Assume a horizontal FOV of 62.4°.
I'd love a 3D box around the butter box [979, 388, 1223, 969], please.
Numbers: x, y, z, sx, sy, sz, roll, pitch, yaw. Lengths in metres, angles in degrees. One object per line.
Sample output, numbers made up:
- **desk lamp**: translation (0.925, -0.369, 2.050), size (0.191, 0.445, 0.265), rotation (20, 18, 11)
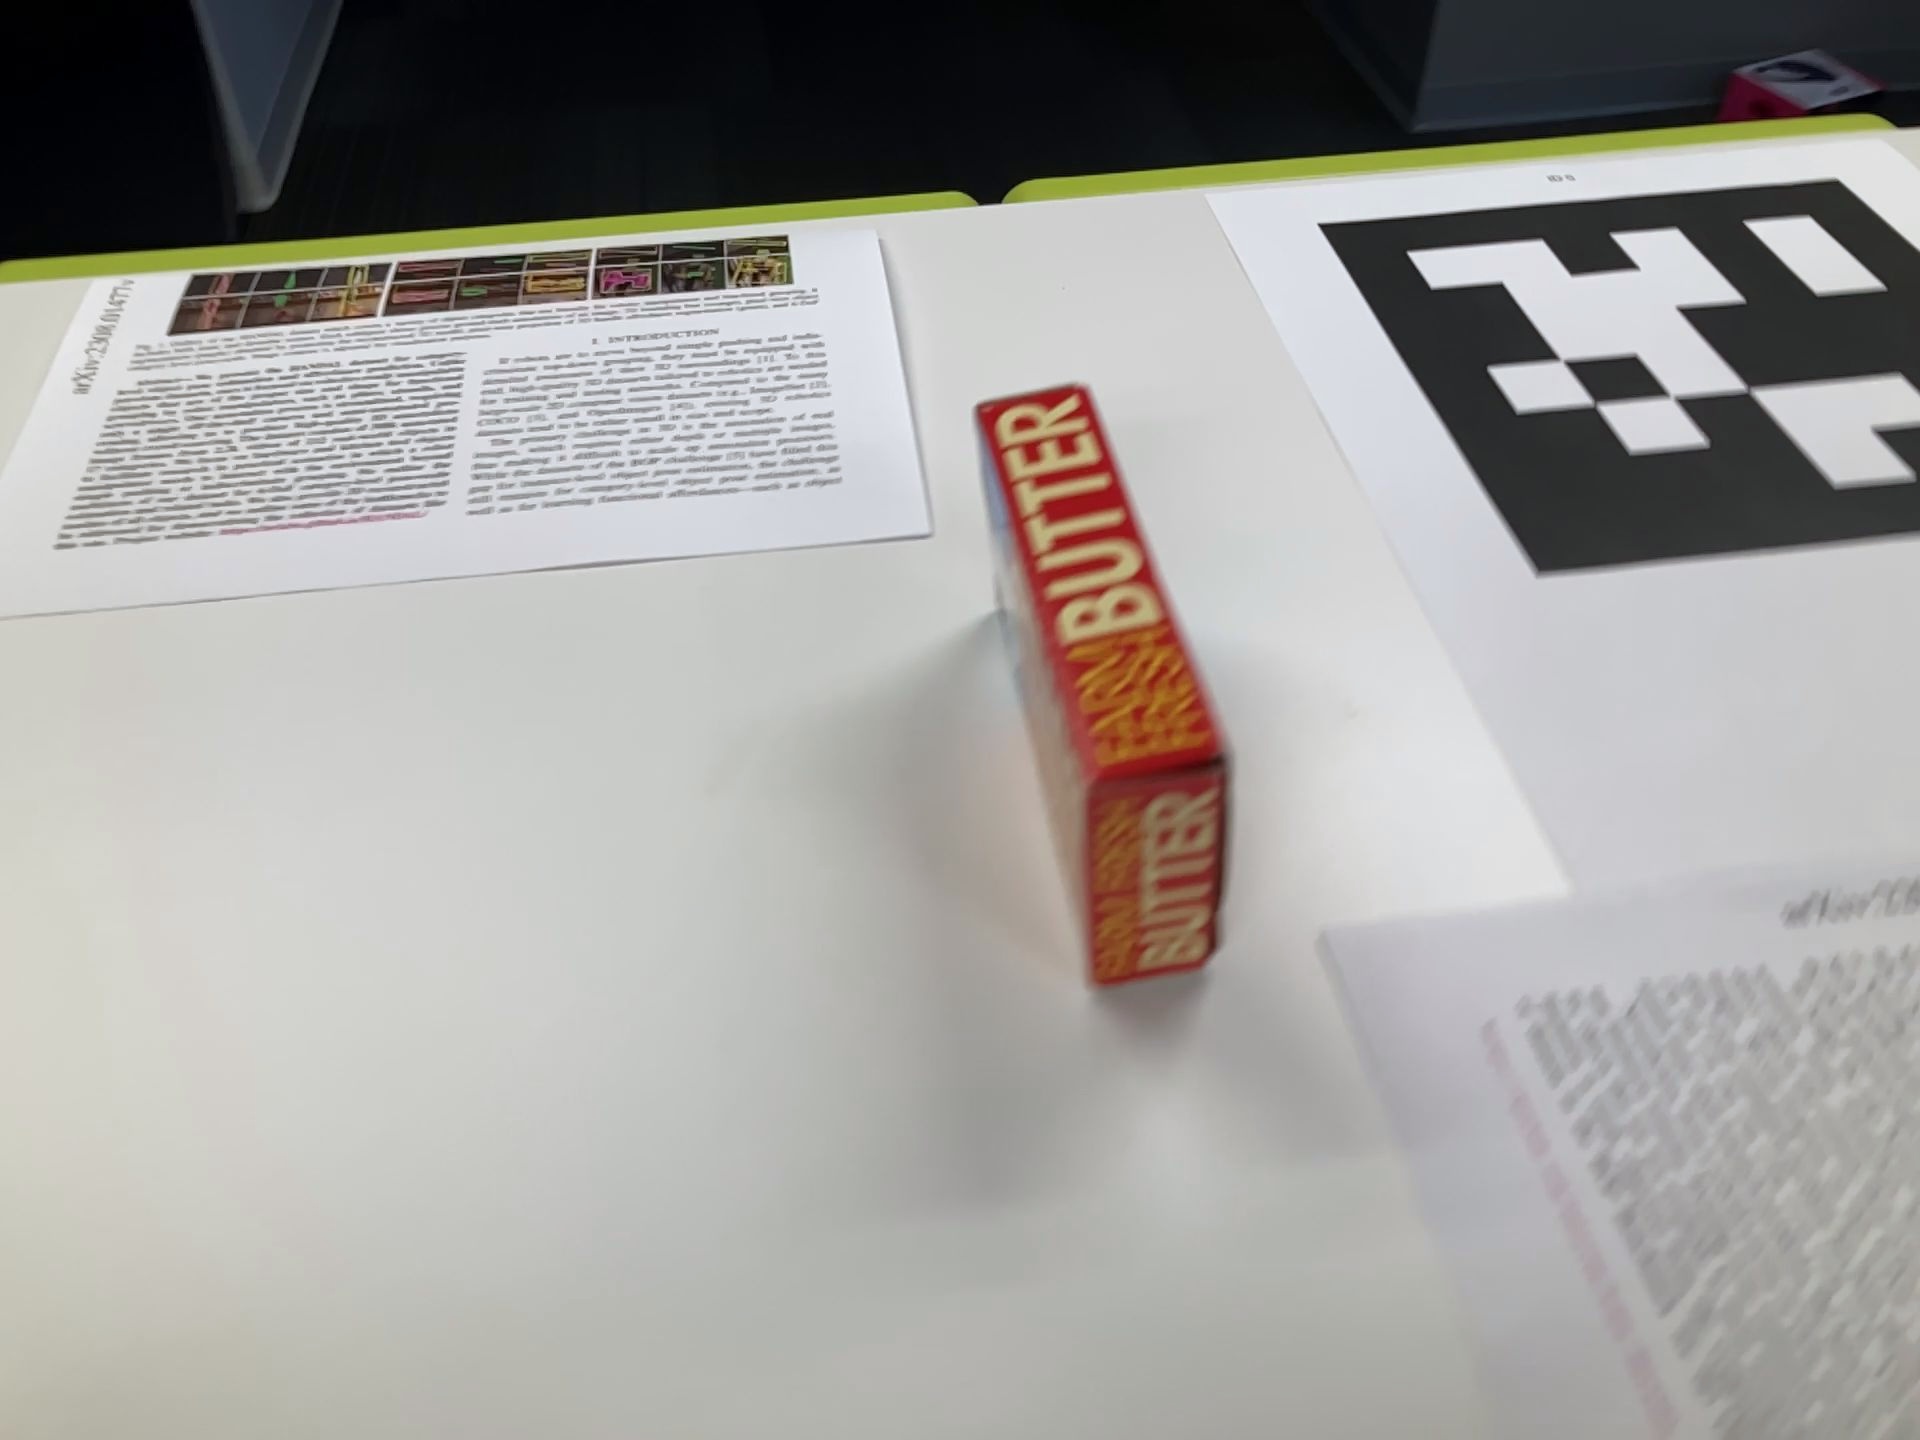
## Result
- **butter box**: translation (0.024, -0.011, 0.293), size (0.024, 0.053, 0.103), rotation (-10, 45, -2)
